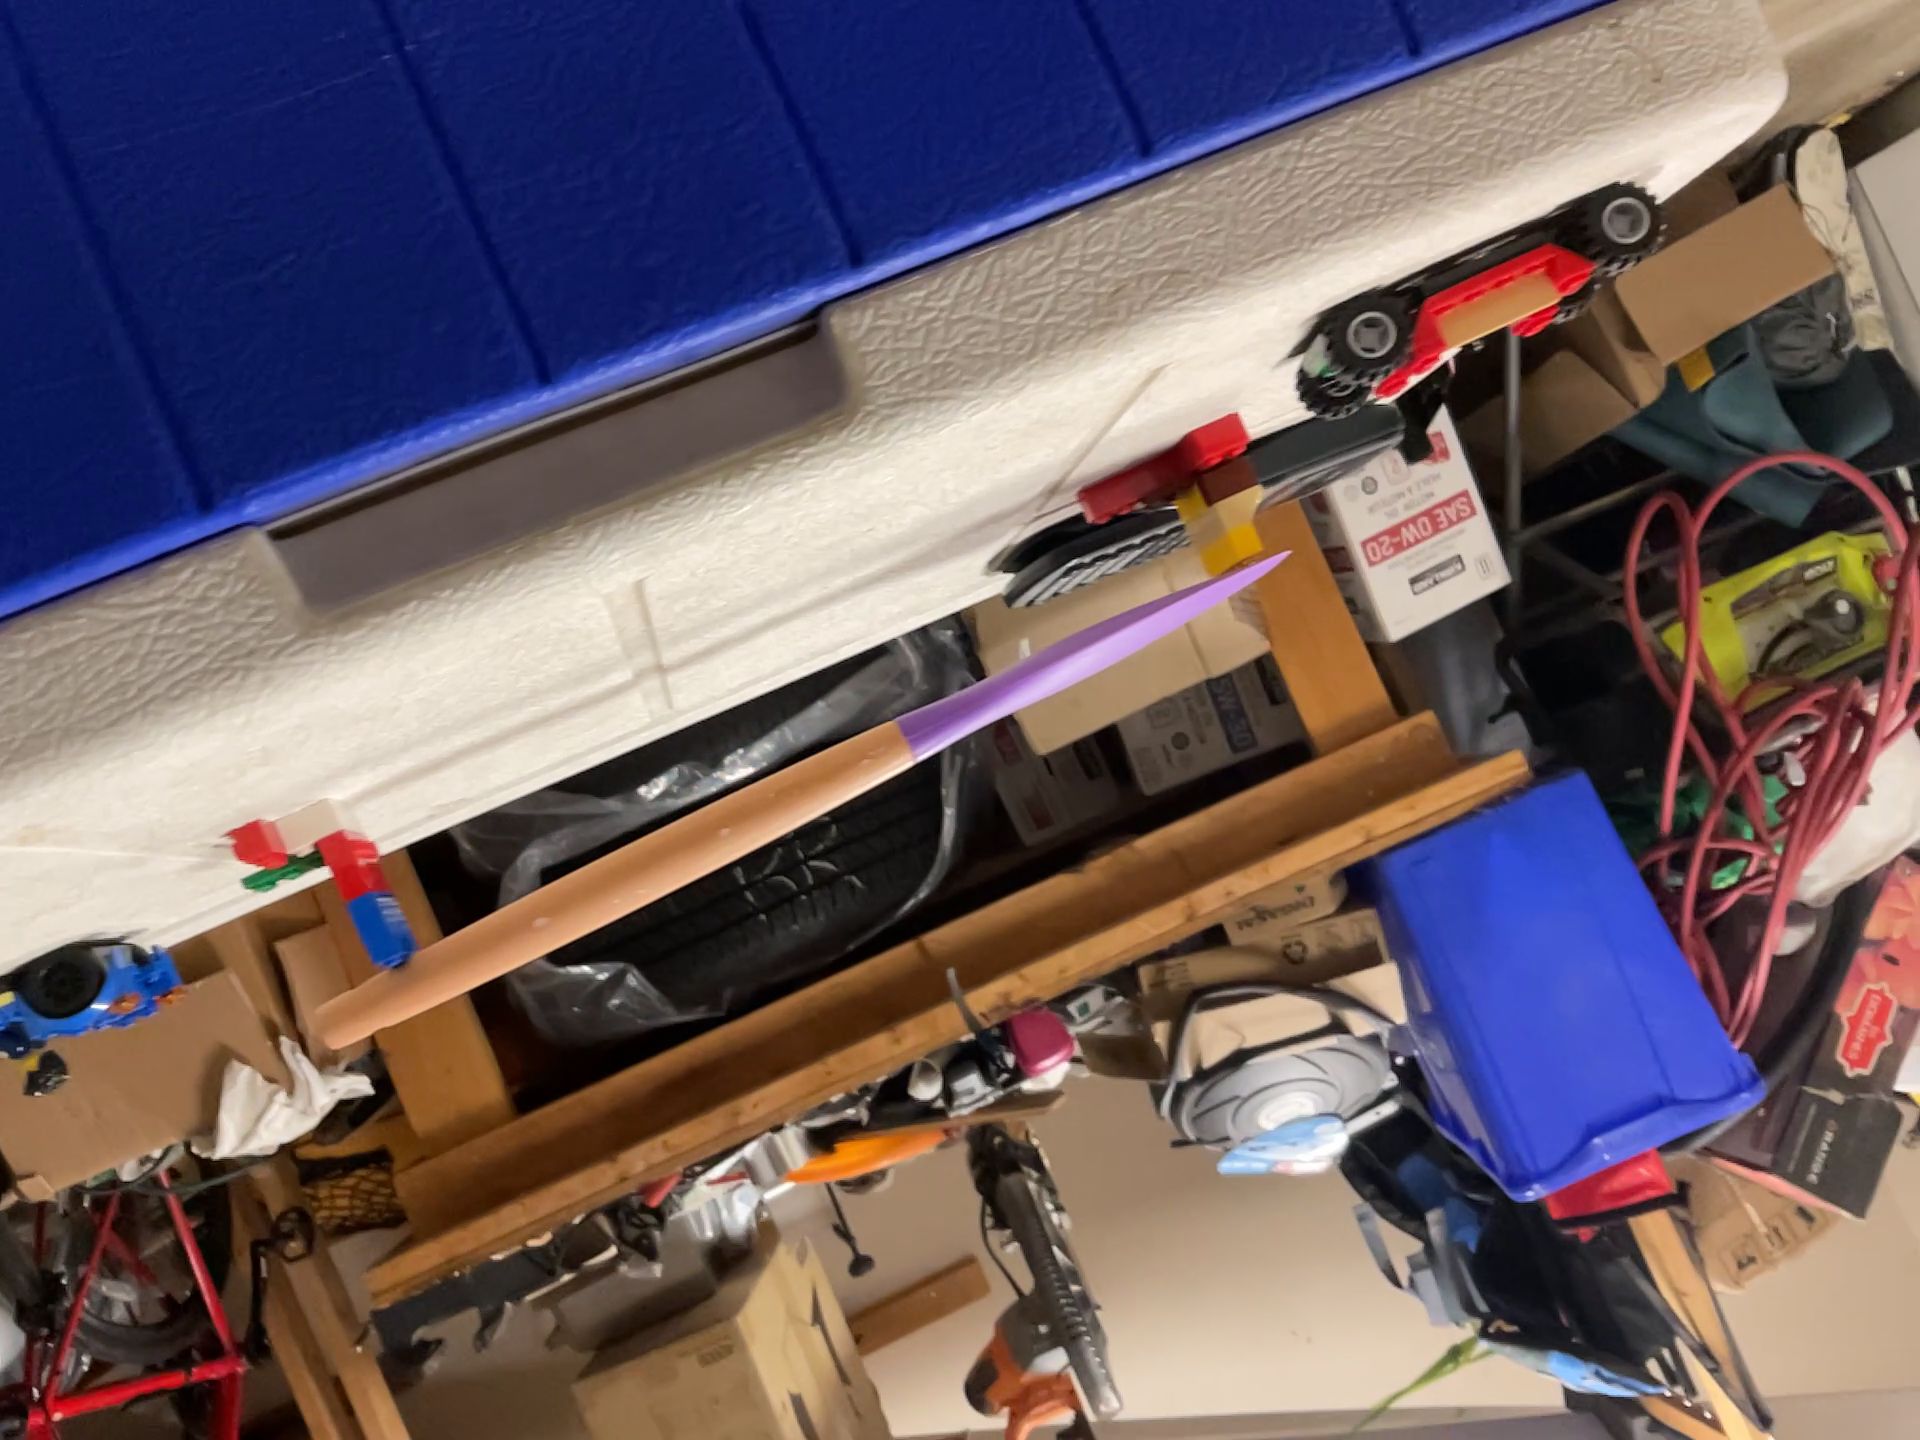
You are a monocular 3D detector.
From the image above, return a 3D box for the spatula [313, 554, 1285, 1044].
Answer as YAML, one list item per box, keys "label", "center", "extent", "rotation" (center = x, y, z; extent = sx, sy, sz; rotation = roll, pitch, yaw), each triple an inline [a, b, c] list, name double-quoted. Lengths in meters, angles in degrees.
- label: "spatula"
  center: [-0.041, 0.018, 0.476]
  extent: [0.316, 0.018, 0.059]
  rotation: [-26, 179, -9]
